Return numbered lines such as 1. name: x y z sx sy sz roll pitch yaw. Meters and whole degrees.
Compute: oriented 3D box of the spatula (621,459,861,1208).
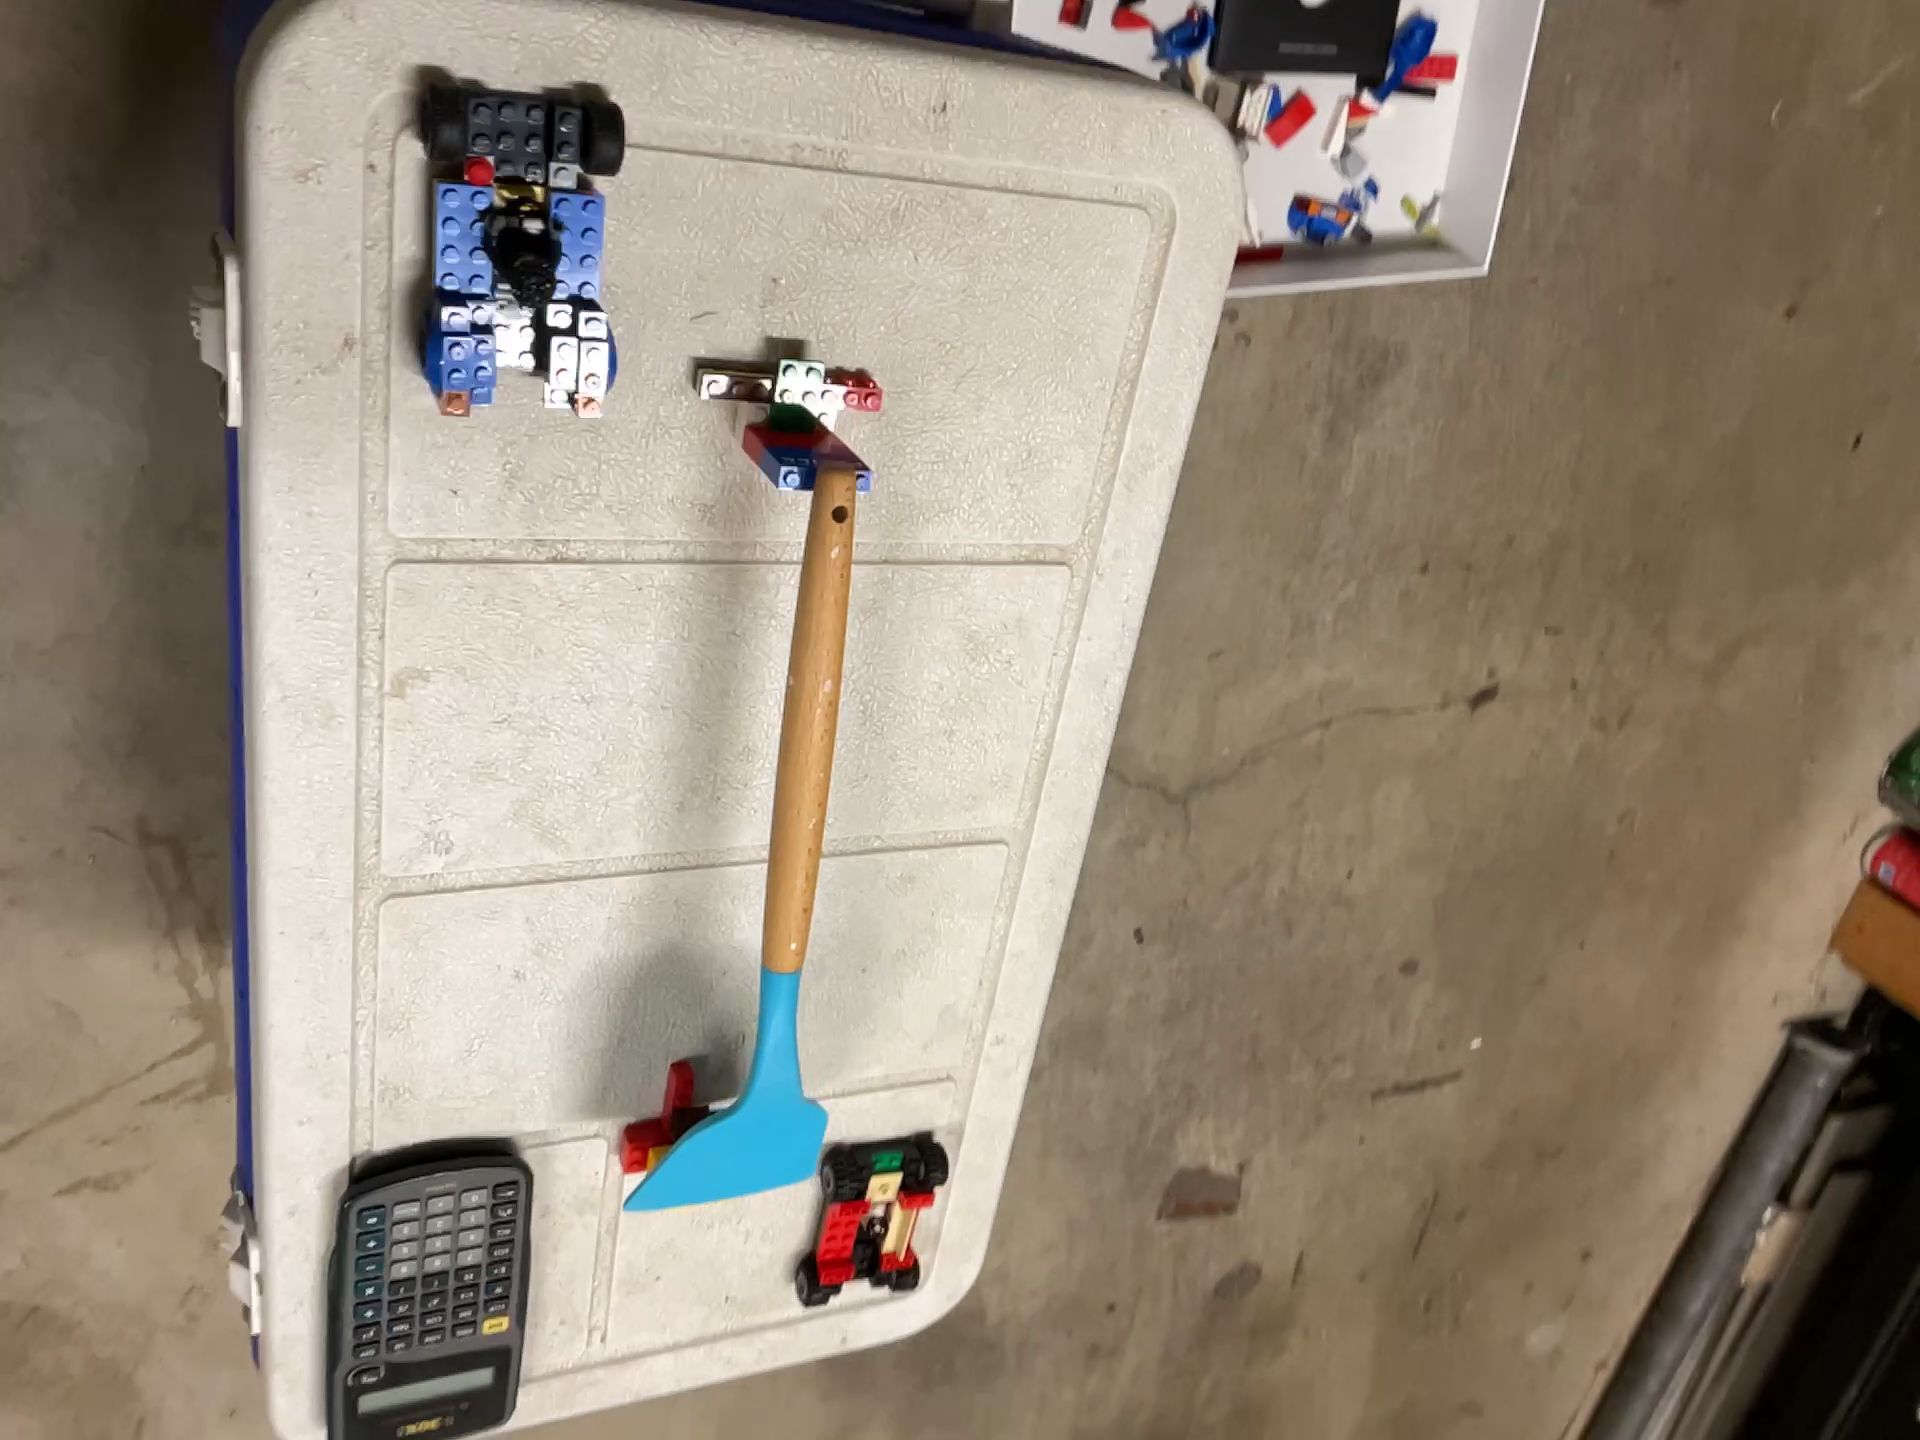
1. spatula: -0.066 0.059 0.572 0.082 0.044 0.317 -2 116 -26
